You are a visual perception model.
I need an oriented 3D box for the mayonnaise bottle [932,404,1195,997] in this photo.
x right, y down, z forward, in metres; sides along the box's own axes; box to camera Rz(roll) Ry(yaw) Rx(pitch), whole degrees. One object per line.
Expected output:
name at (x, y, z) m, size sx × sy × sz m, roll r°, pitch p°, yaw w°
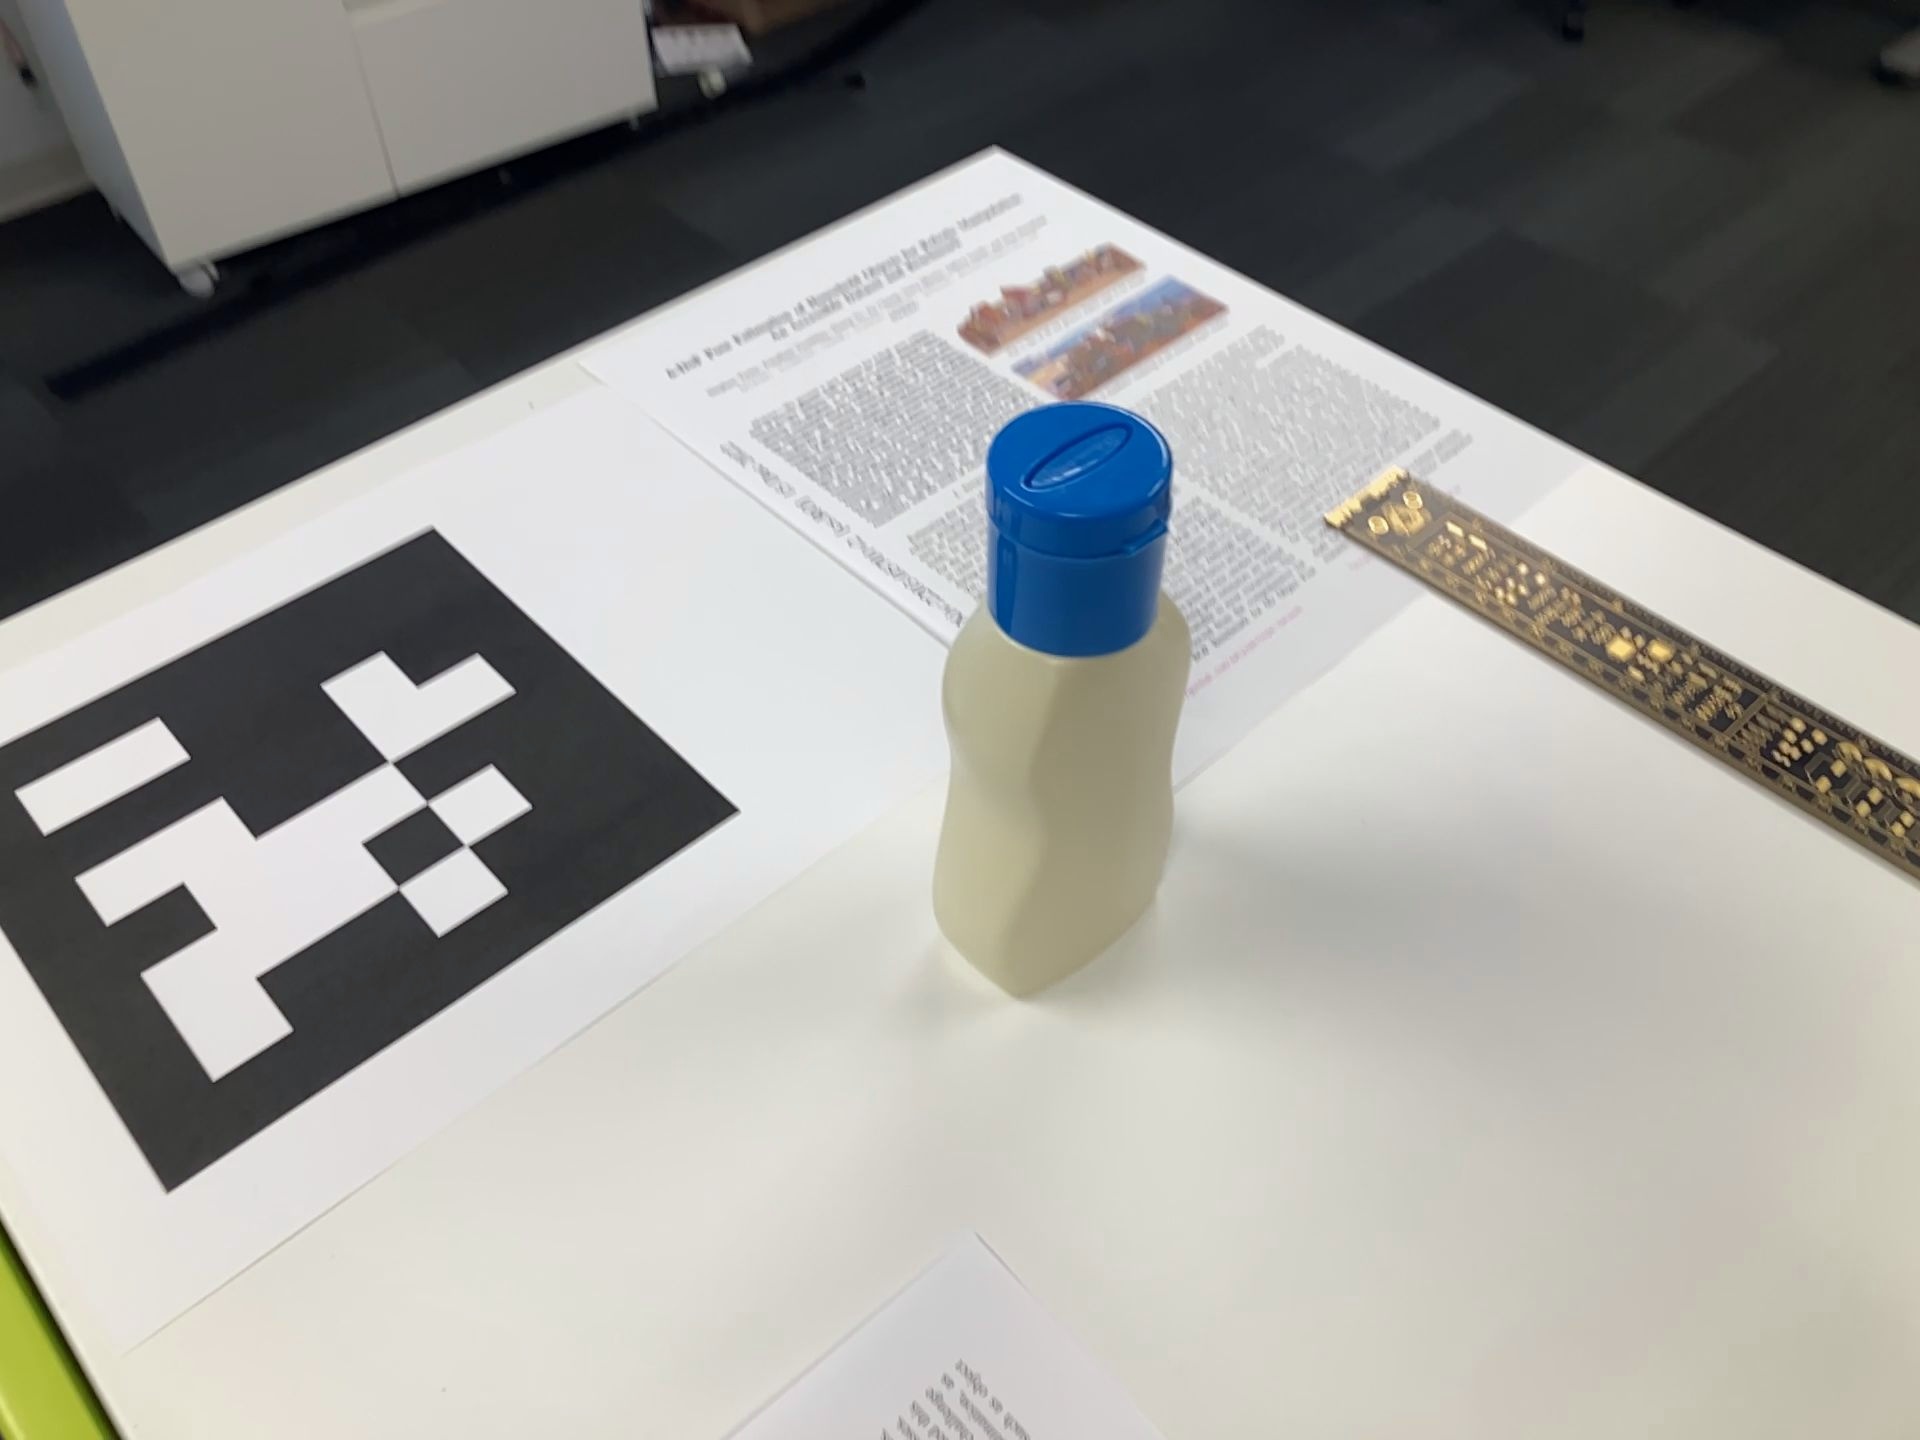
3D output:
mayonnaise bottle at (0.023, -0.001, 0.357) m, size 0.065 × 0.148 × 0.041 m, roll -34°, pitch 56°, yaw -27°
